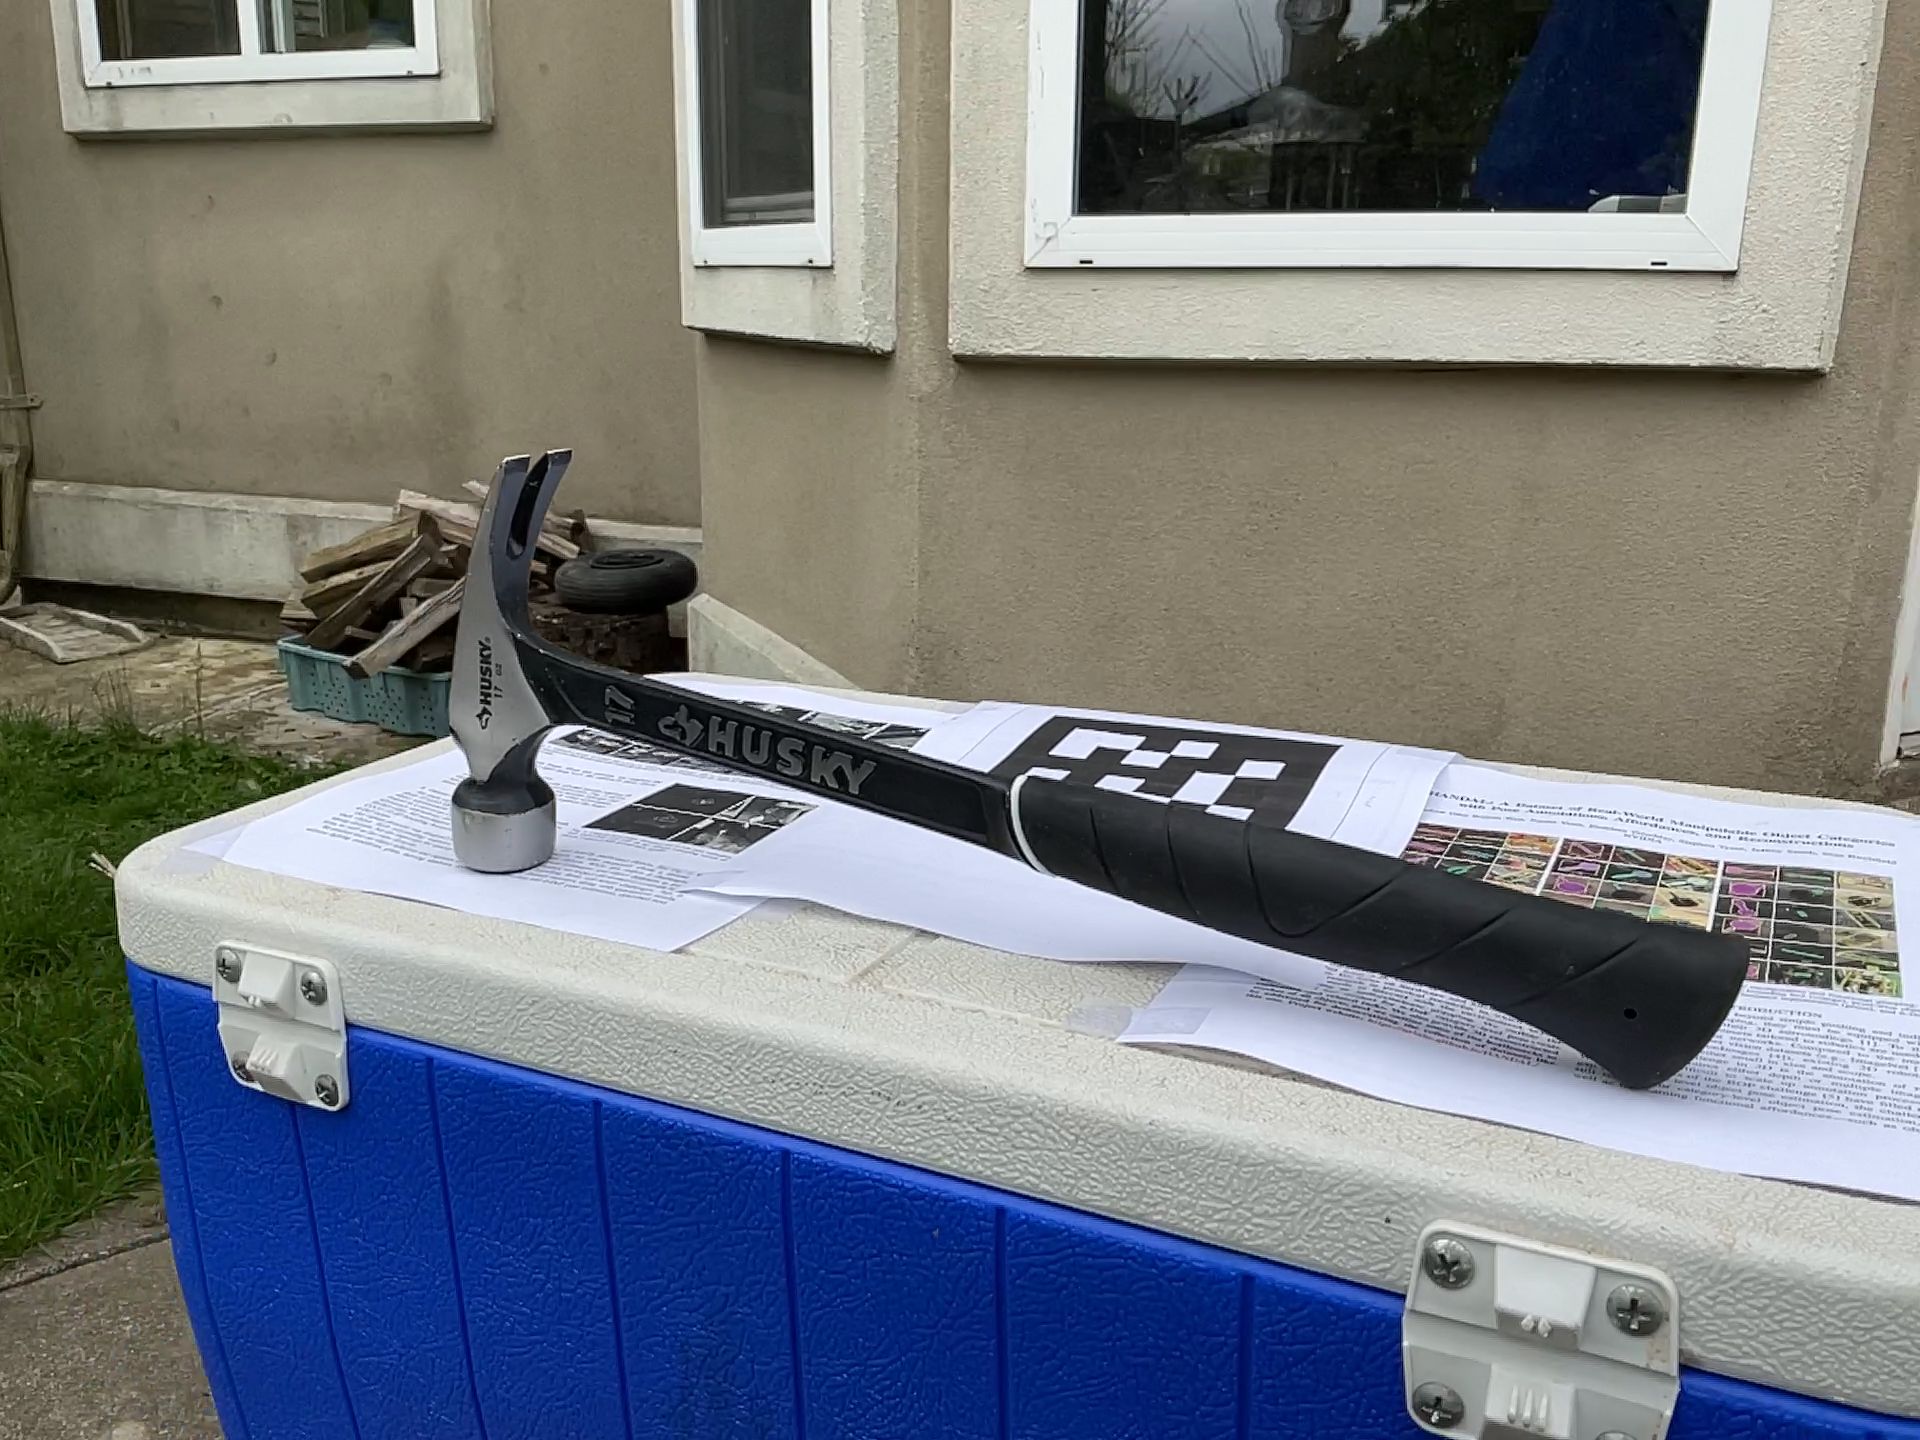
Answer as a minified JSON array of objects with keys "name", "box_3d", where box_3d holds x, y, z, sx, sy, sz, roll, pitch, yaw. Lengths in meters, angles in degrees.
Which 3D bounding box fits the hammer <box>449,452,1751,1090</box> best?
[{"name":"hammer","box_3d":[0.008,0.022,0.469,0.409,0.149,0.036,14,21,24]}]
